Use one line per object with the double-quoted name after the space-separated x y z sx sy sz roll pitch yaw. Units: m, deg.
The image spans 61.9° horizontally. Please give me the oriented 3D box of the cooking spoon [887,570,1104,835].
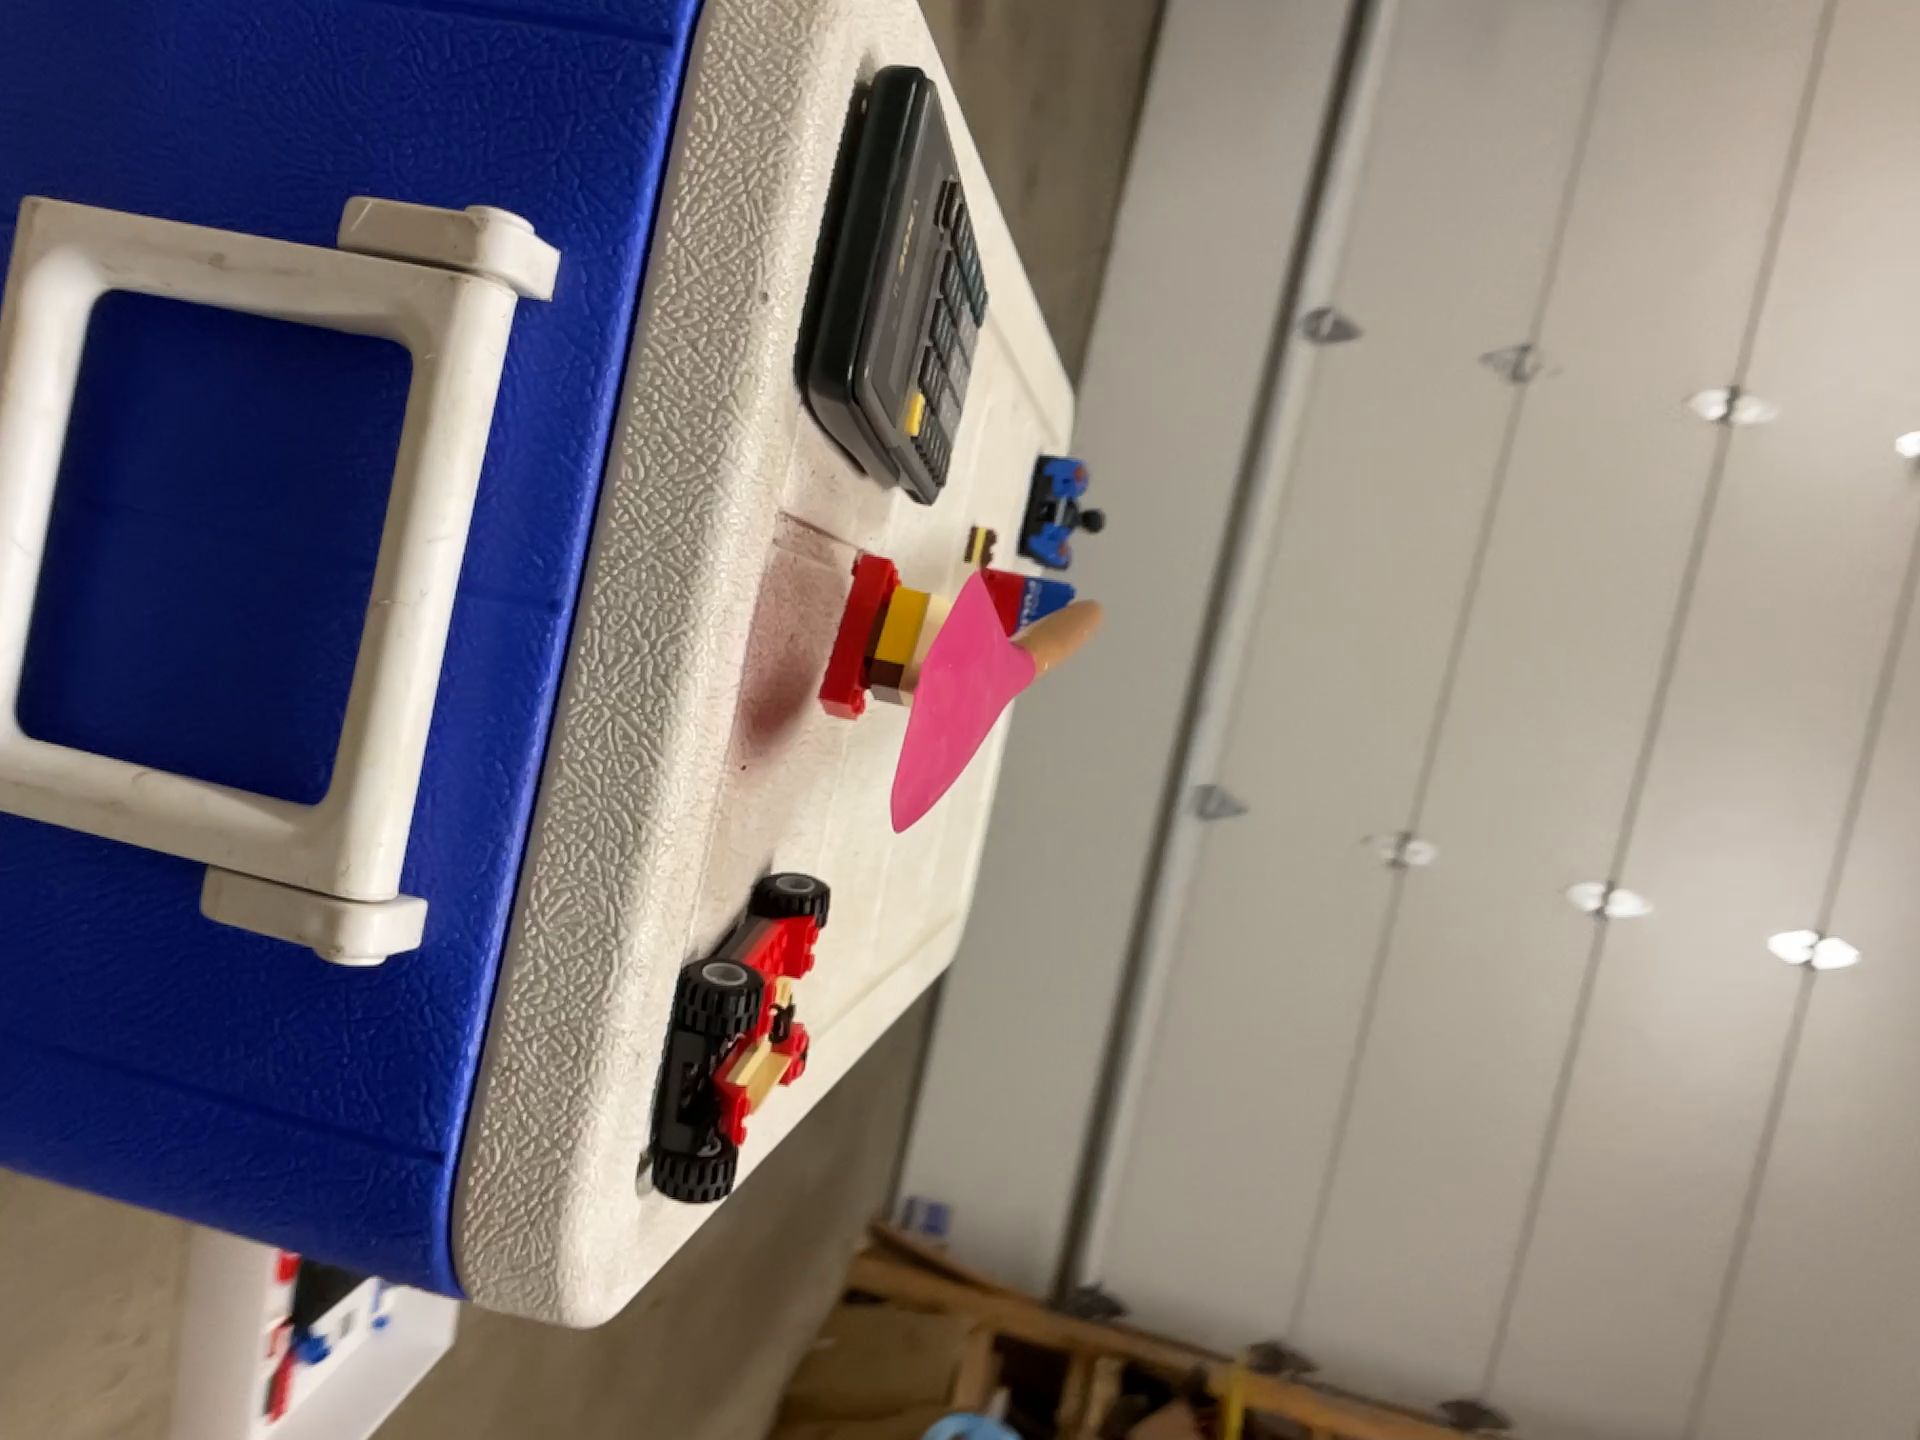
0.021 -0.020 0.514 0.319 0.017 0.068 -37 144 -76 "cooking spoon"
